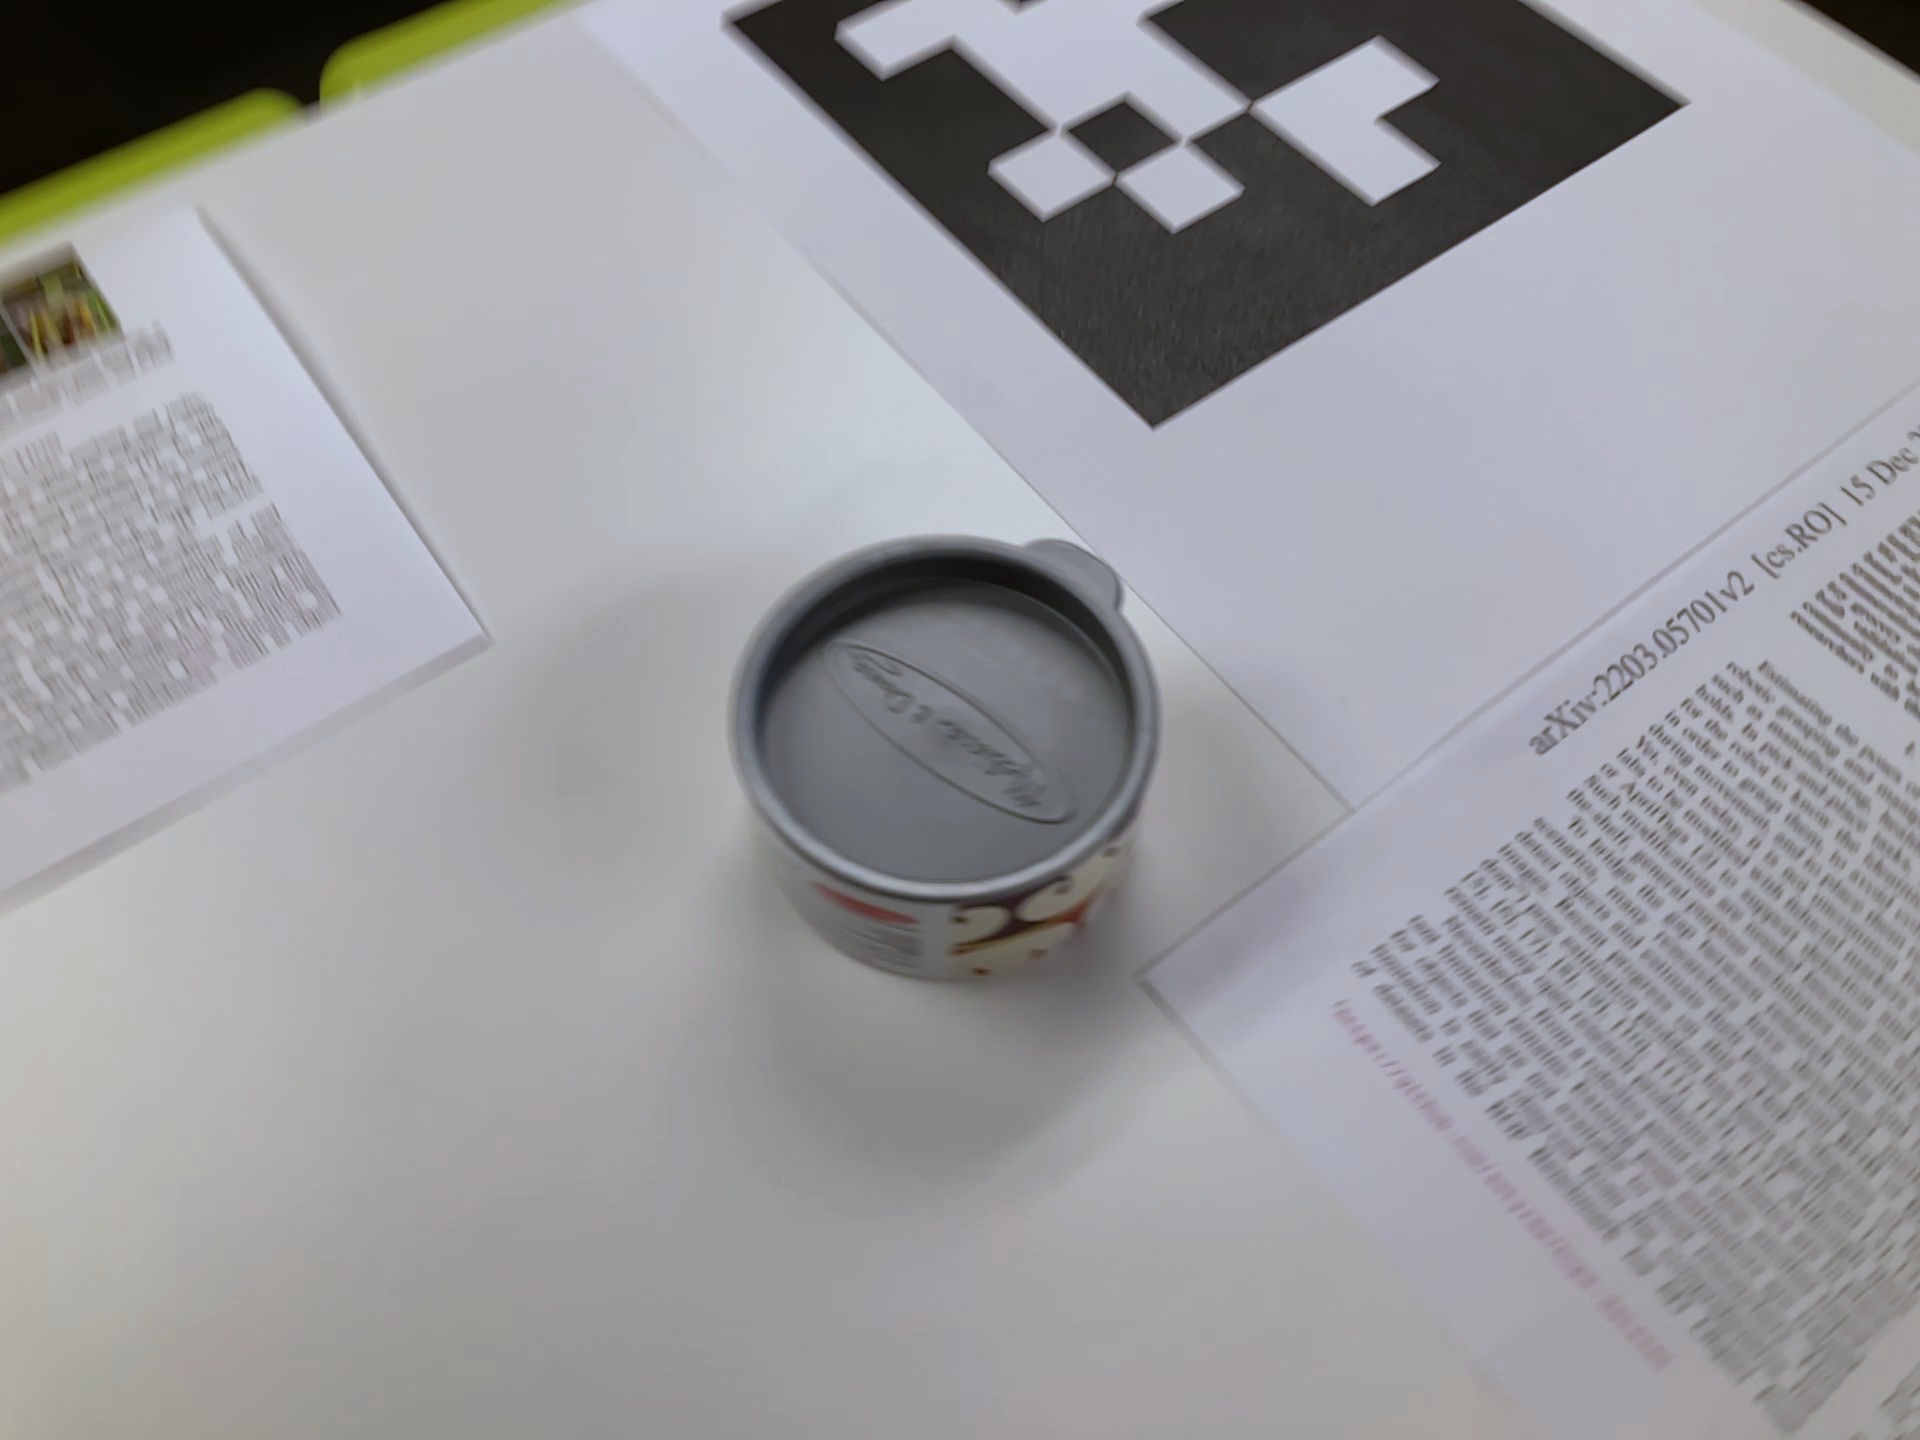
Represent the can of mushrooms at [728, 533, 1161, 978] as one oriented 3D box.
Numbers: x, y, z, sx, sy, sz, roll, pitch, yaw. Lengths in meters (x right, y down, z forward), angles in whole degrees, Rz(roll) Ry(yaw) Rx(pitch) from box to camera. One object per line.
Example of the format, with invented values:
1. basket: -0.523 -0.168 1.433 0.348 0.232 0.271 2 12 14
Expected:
1. can of mushrooms: -0.001 0.004 0.256 0.071 0.033 0.071 0 59 1
